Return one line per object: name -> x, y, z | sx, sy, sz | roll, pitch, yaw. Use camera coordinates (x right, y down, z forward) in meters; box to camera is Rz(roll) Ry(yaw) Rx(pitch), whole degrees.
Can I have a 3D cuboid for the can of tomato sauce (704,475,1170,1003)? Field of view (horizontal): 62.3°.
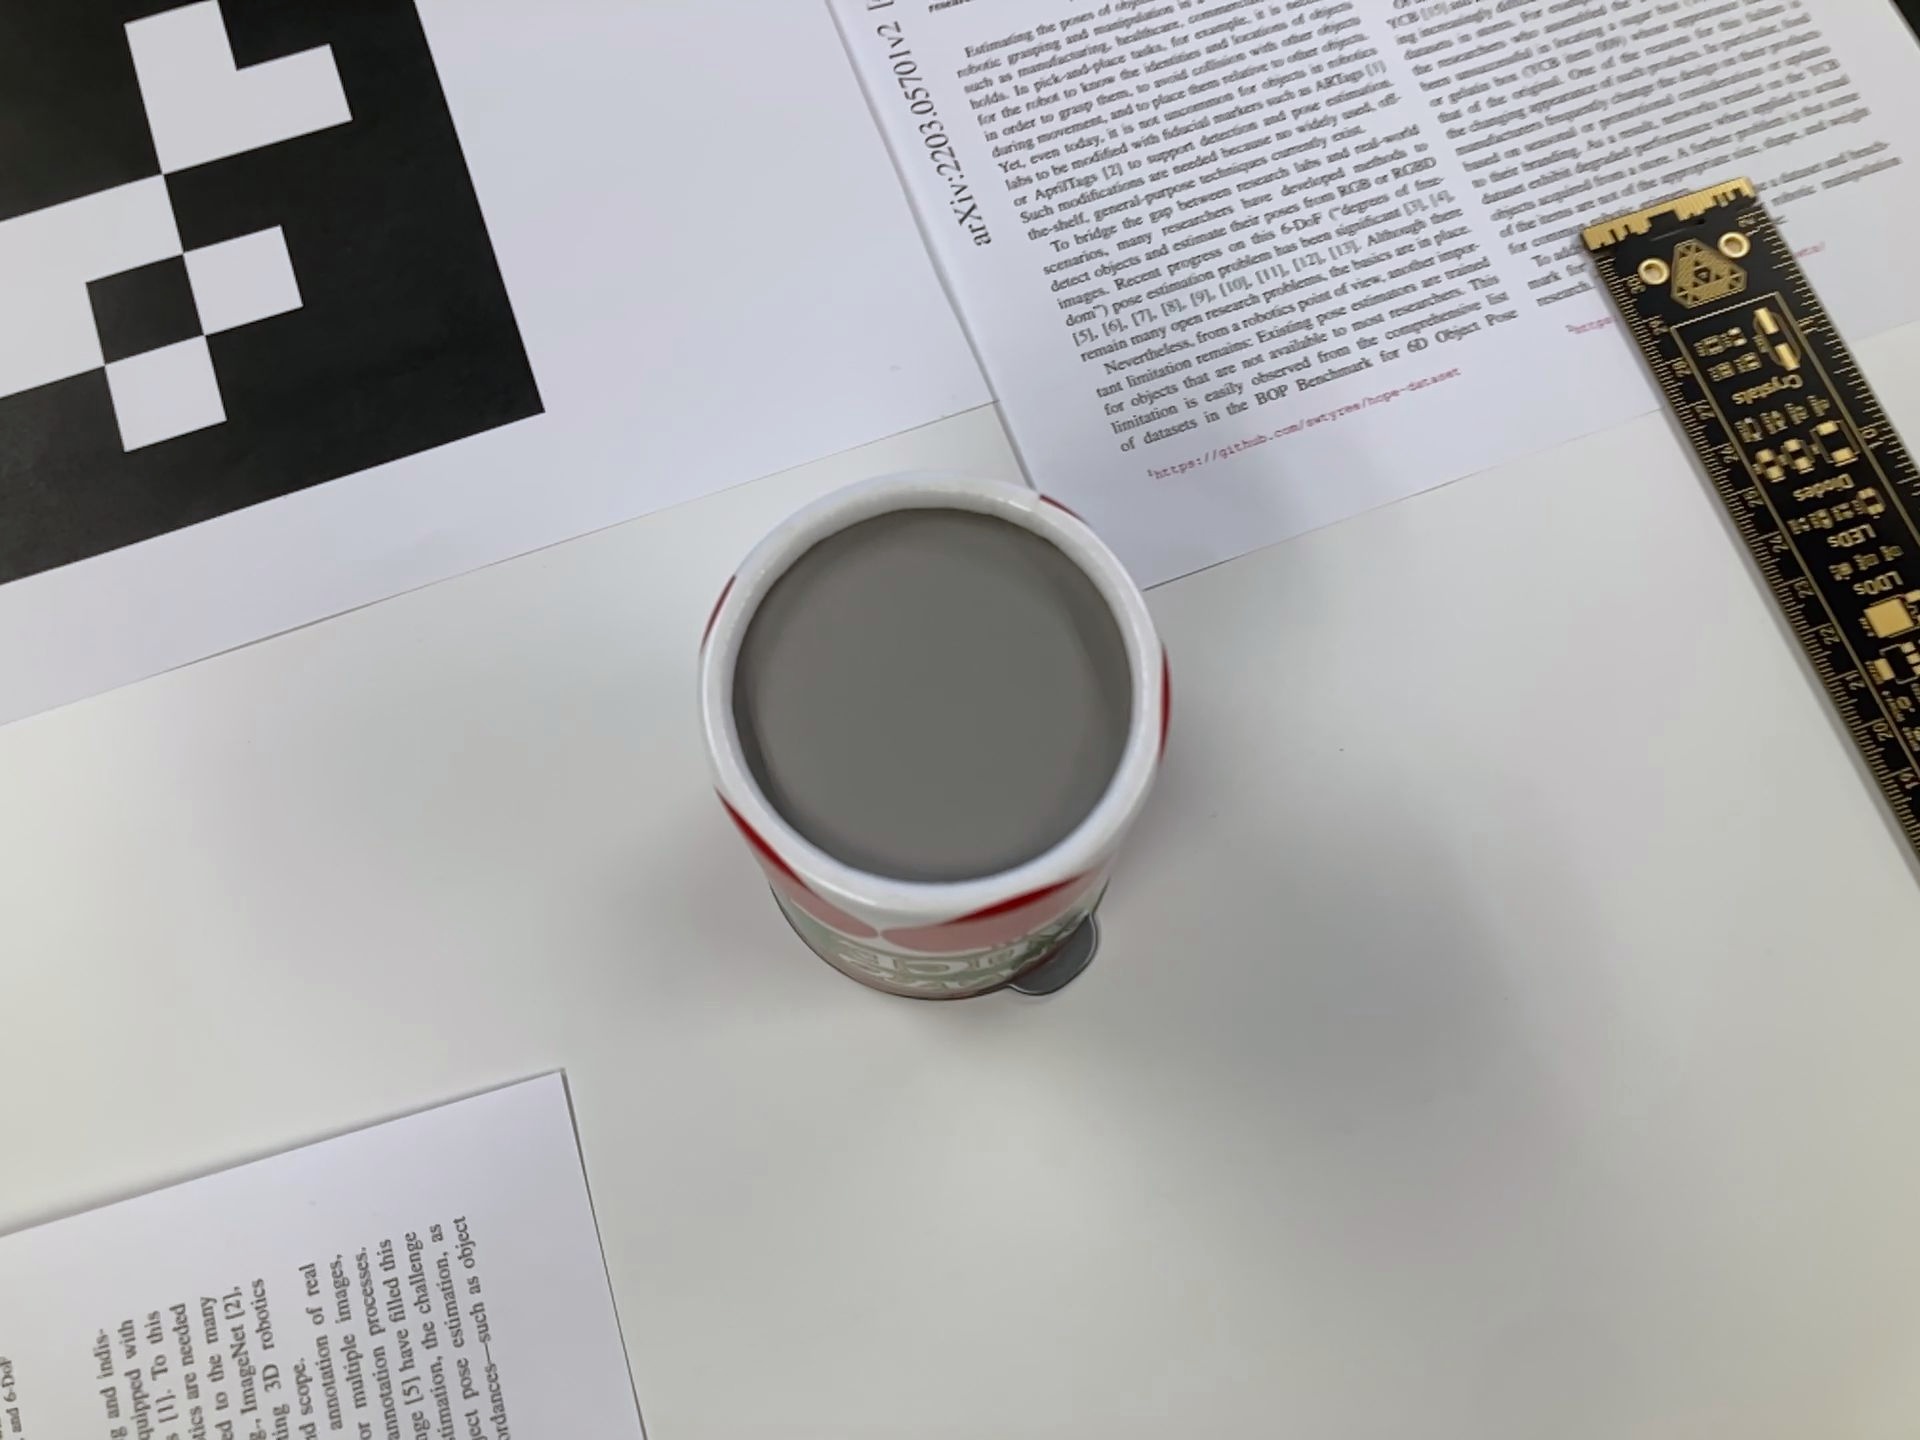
can of tomato sauce -> -0.004, 0.009, 0.257 | 0.071, 0.083, 0.071 | 1, 73, -2
